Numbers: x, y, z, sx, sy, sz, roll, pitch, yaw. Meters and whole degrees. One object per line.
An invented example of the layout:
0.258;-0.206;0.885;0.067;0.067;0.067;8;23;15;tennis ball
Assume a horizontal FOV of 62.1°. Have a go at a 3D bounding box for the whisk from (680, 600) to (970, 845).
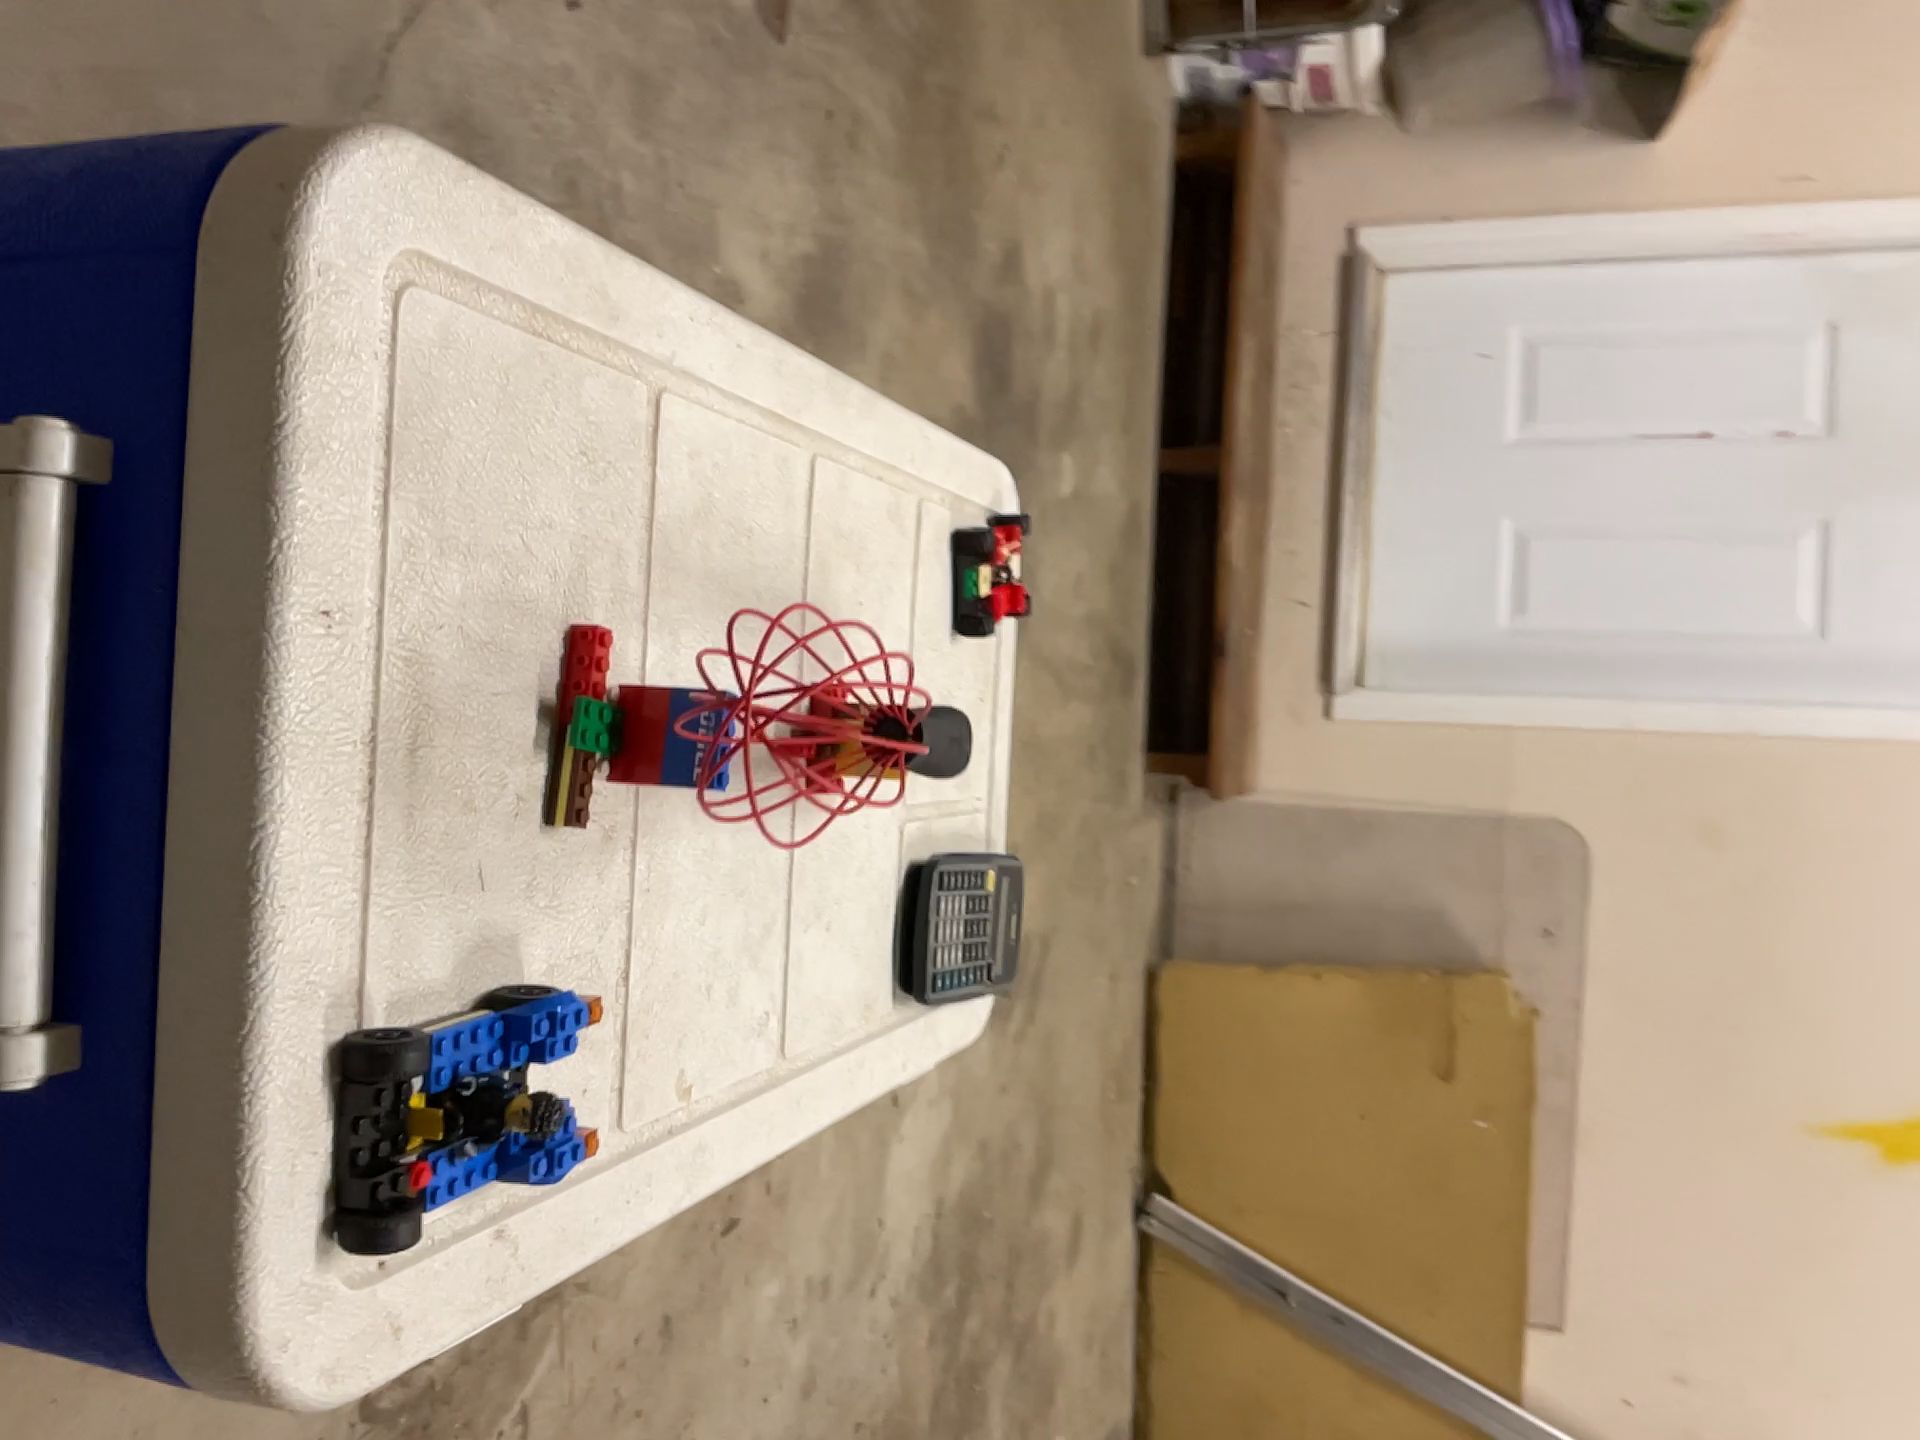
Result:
-0.029;0.005;0.561;0.296;0.073;0.073;13;77;-80;whisk
